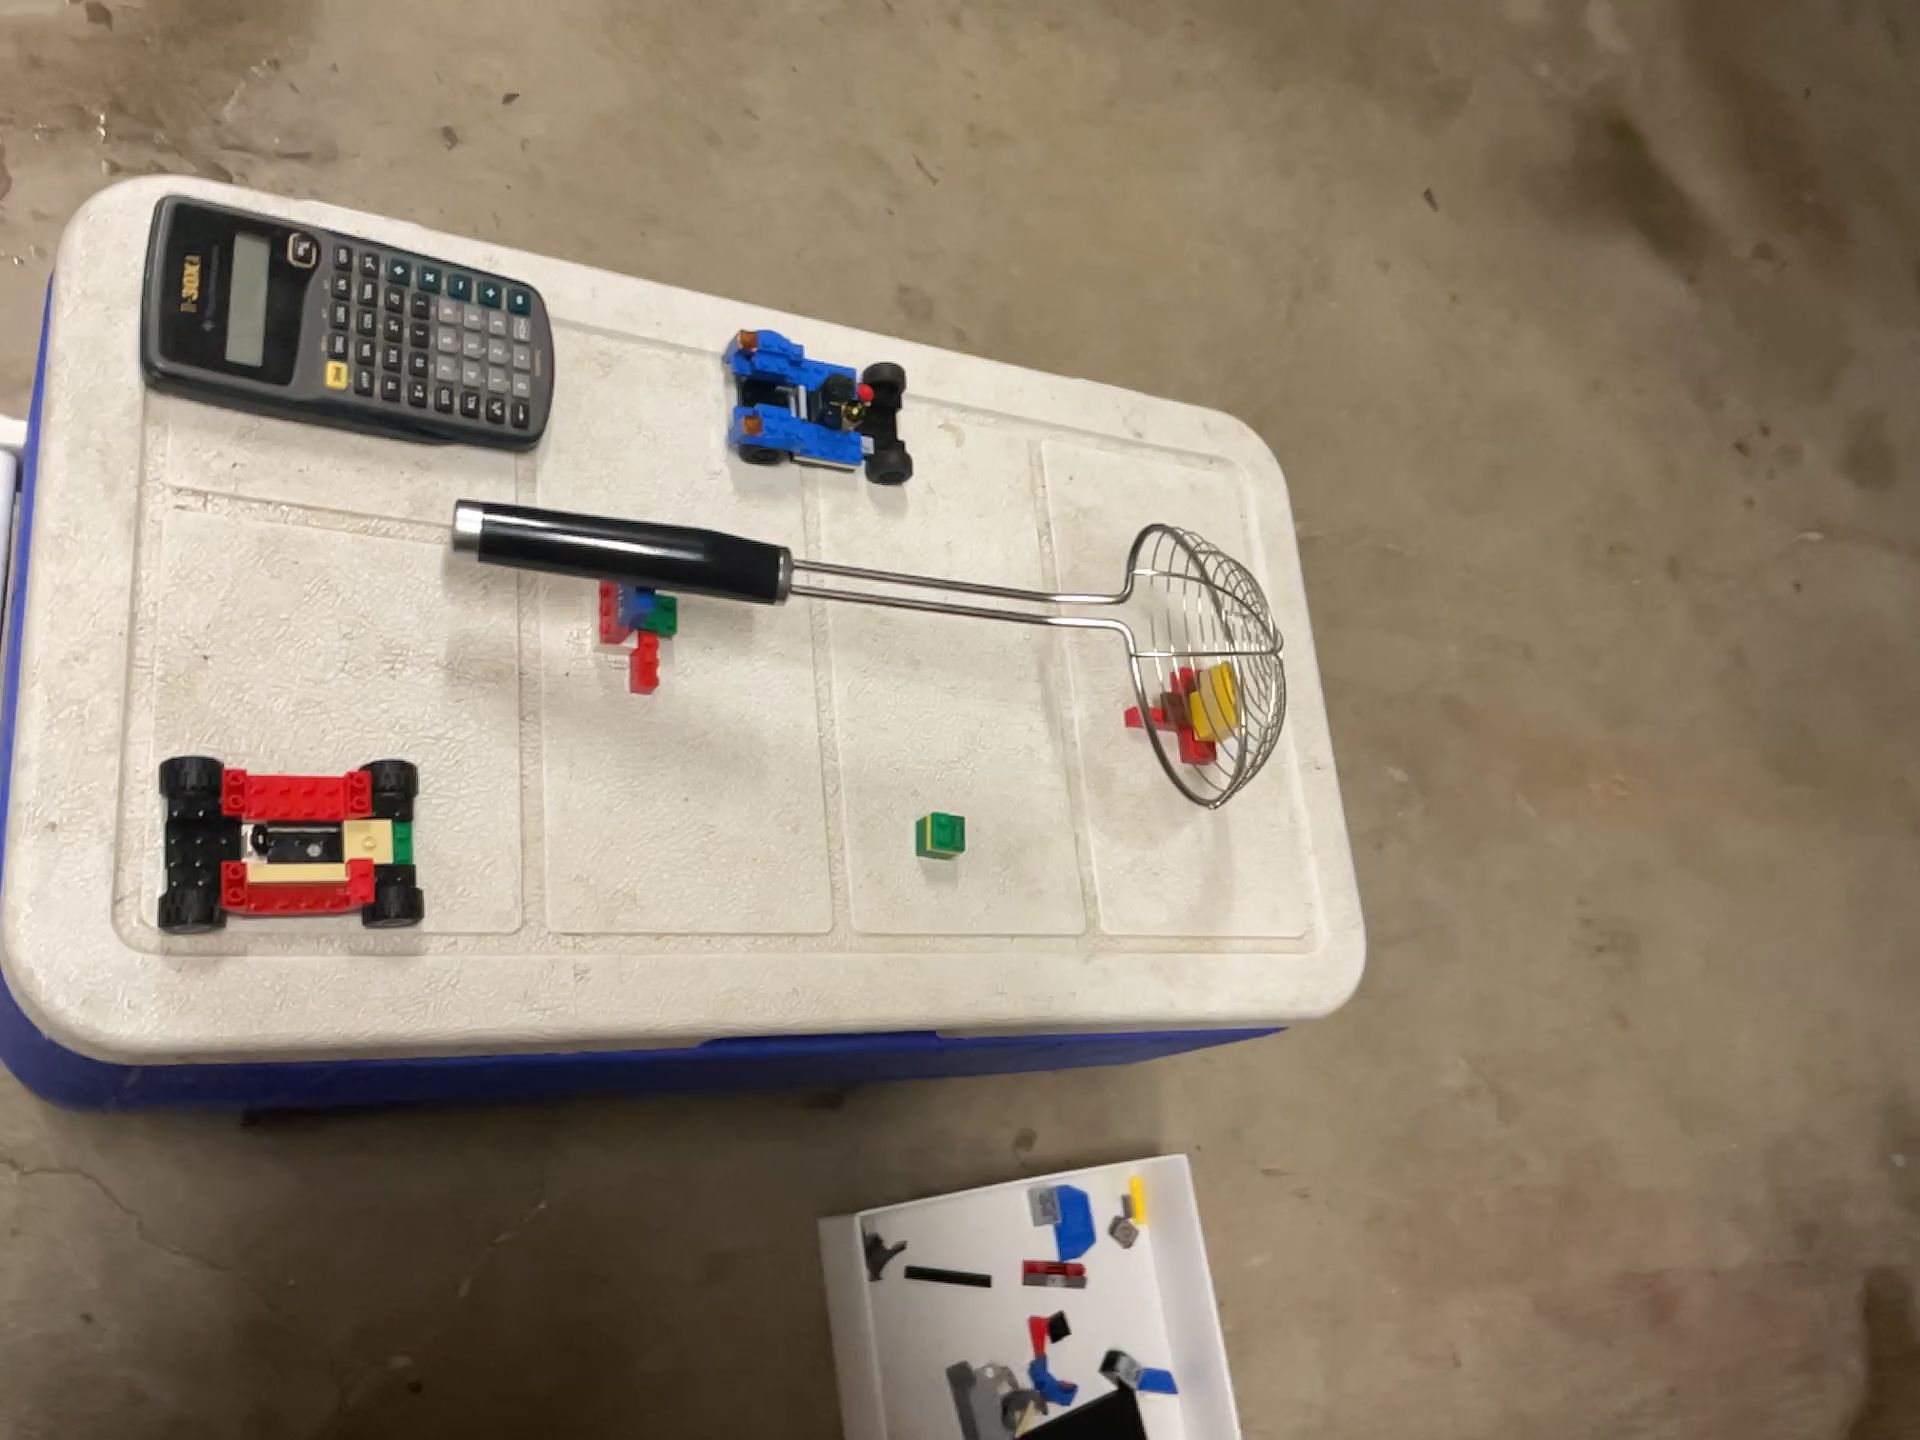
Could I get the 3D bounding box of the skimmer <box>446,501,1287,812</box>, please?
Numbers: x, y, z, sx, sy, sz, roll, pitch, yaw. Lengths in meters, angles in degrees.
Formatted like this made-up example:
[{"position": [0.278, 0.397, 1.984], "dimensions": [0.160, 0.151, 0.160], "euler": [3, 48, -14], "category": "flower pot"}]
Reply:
[{"position": [-0.022, -0.038, 0.656], "dimensions": [0.363, 0.090, 0.127], "euler": [6, 69, -18], "category": "skimmer"}]
